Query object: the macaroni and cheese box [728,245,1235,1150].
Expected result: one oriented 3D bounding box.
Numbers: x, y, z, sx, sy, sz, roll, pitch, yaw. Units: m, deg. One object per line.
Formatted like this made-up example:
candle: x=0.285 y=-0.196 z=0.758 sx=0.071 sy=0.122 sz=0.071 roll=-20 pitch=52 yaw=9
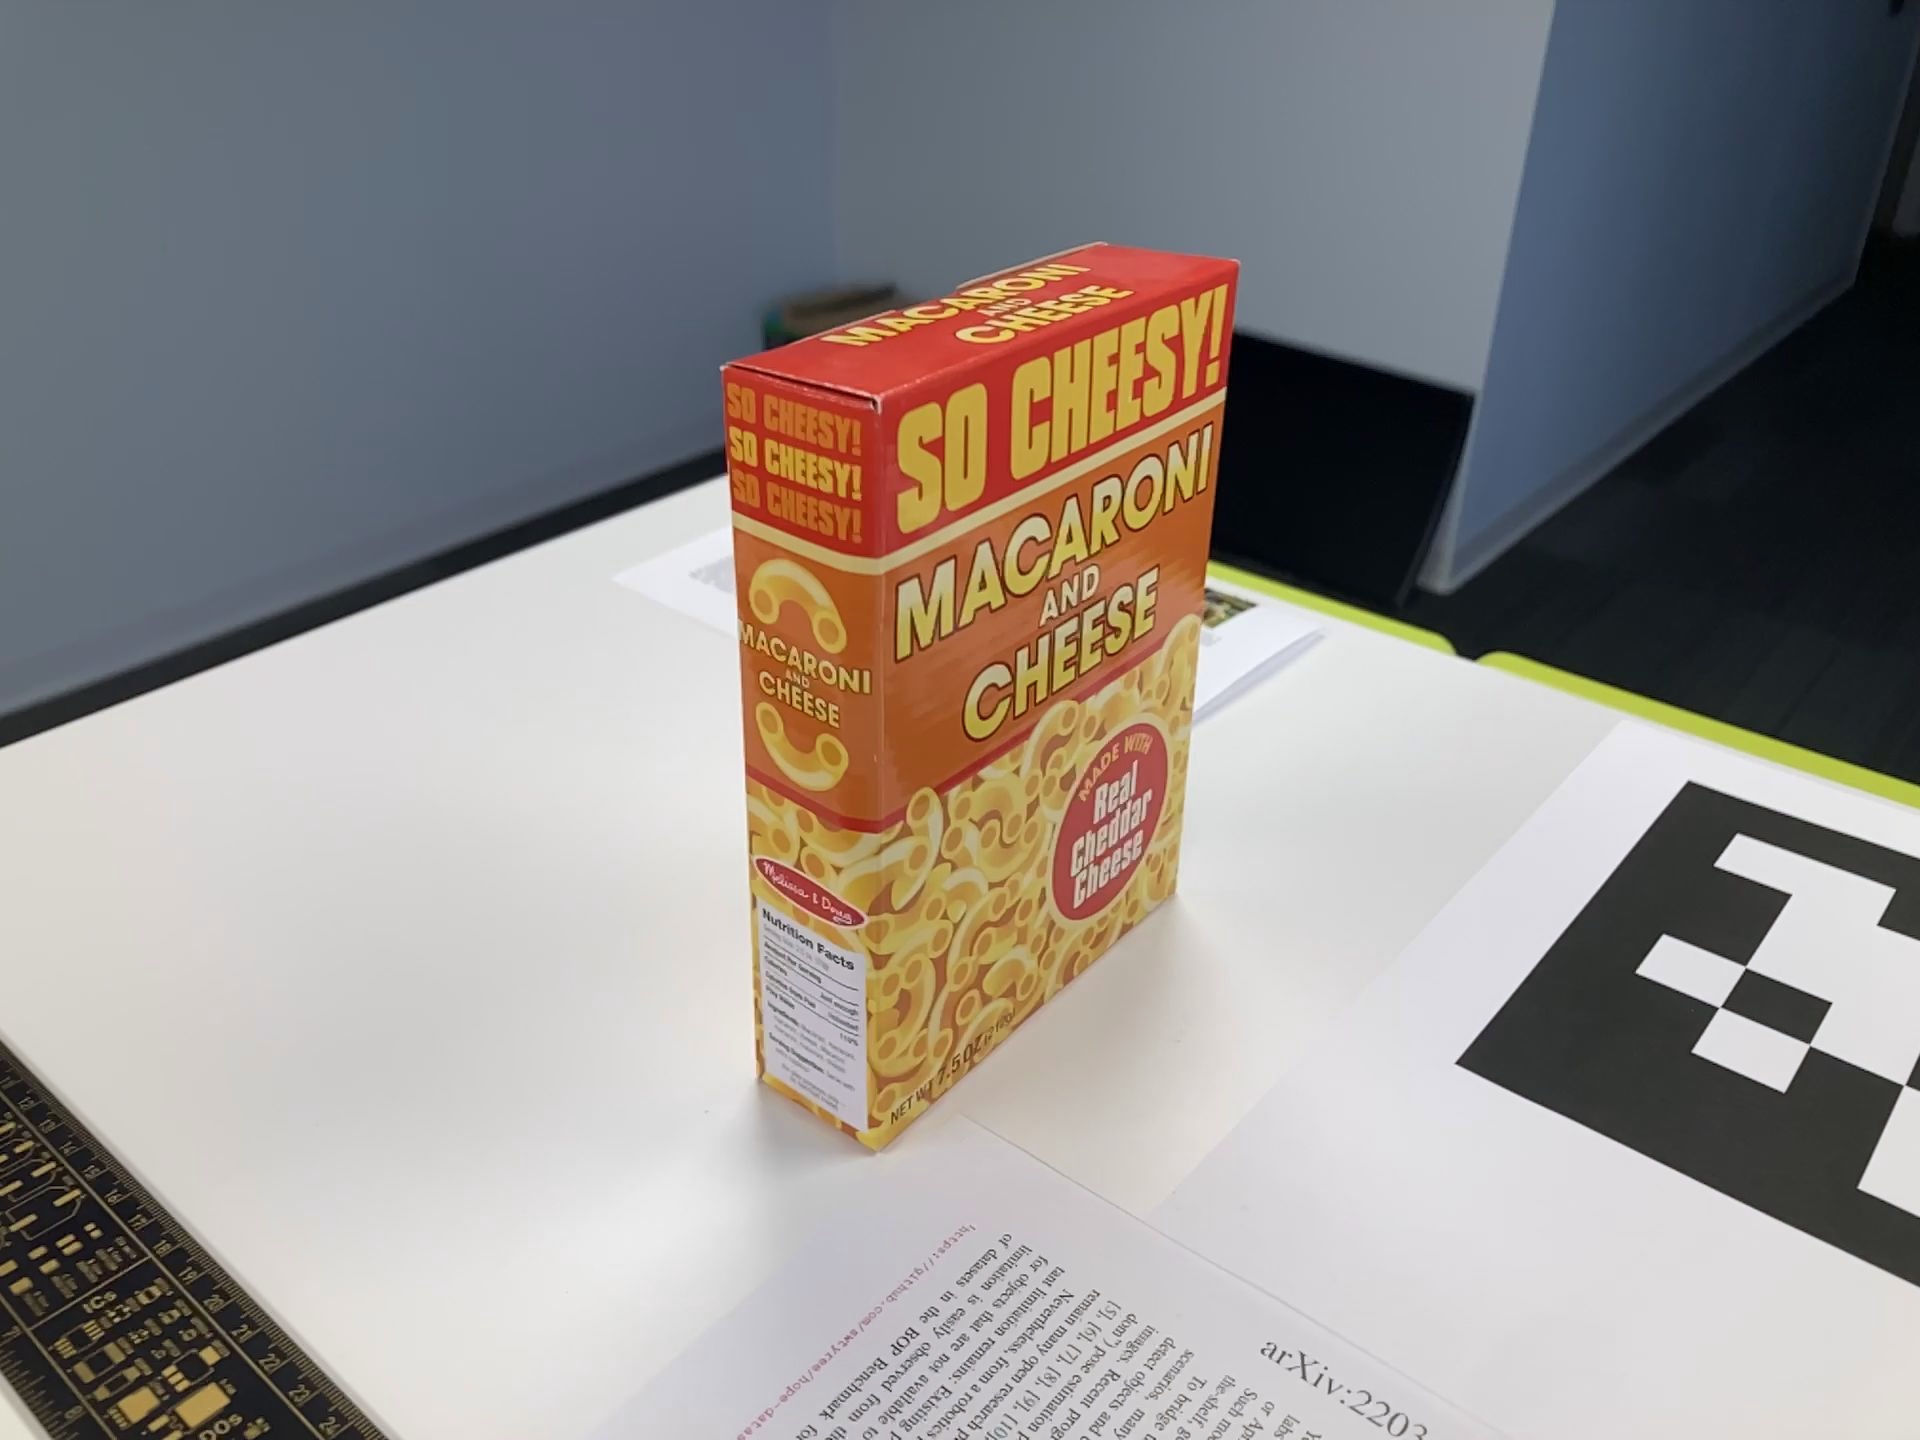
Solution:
macaroni and cheese box: x=0.007 y=-0.008 z=0.351 sx=0.040 sy=0.166 sz=0.124 roll=21 pitch=35 yaw=31
